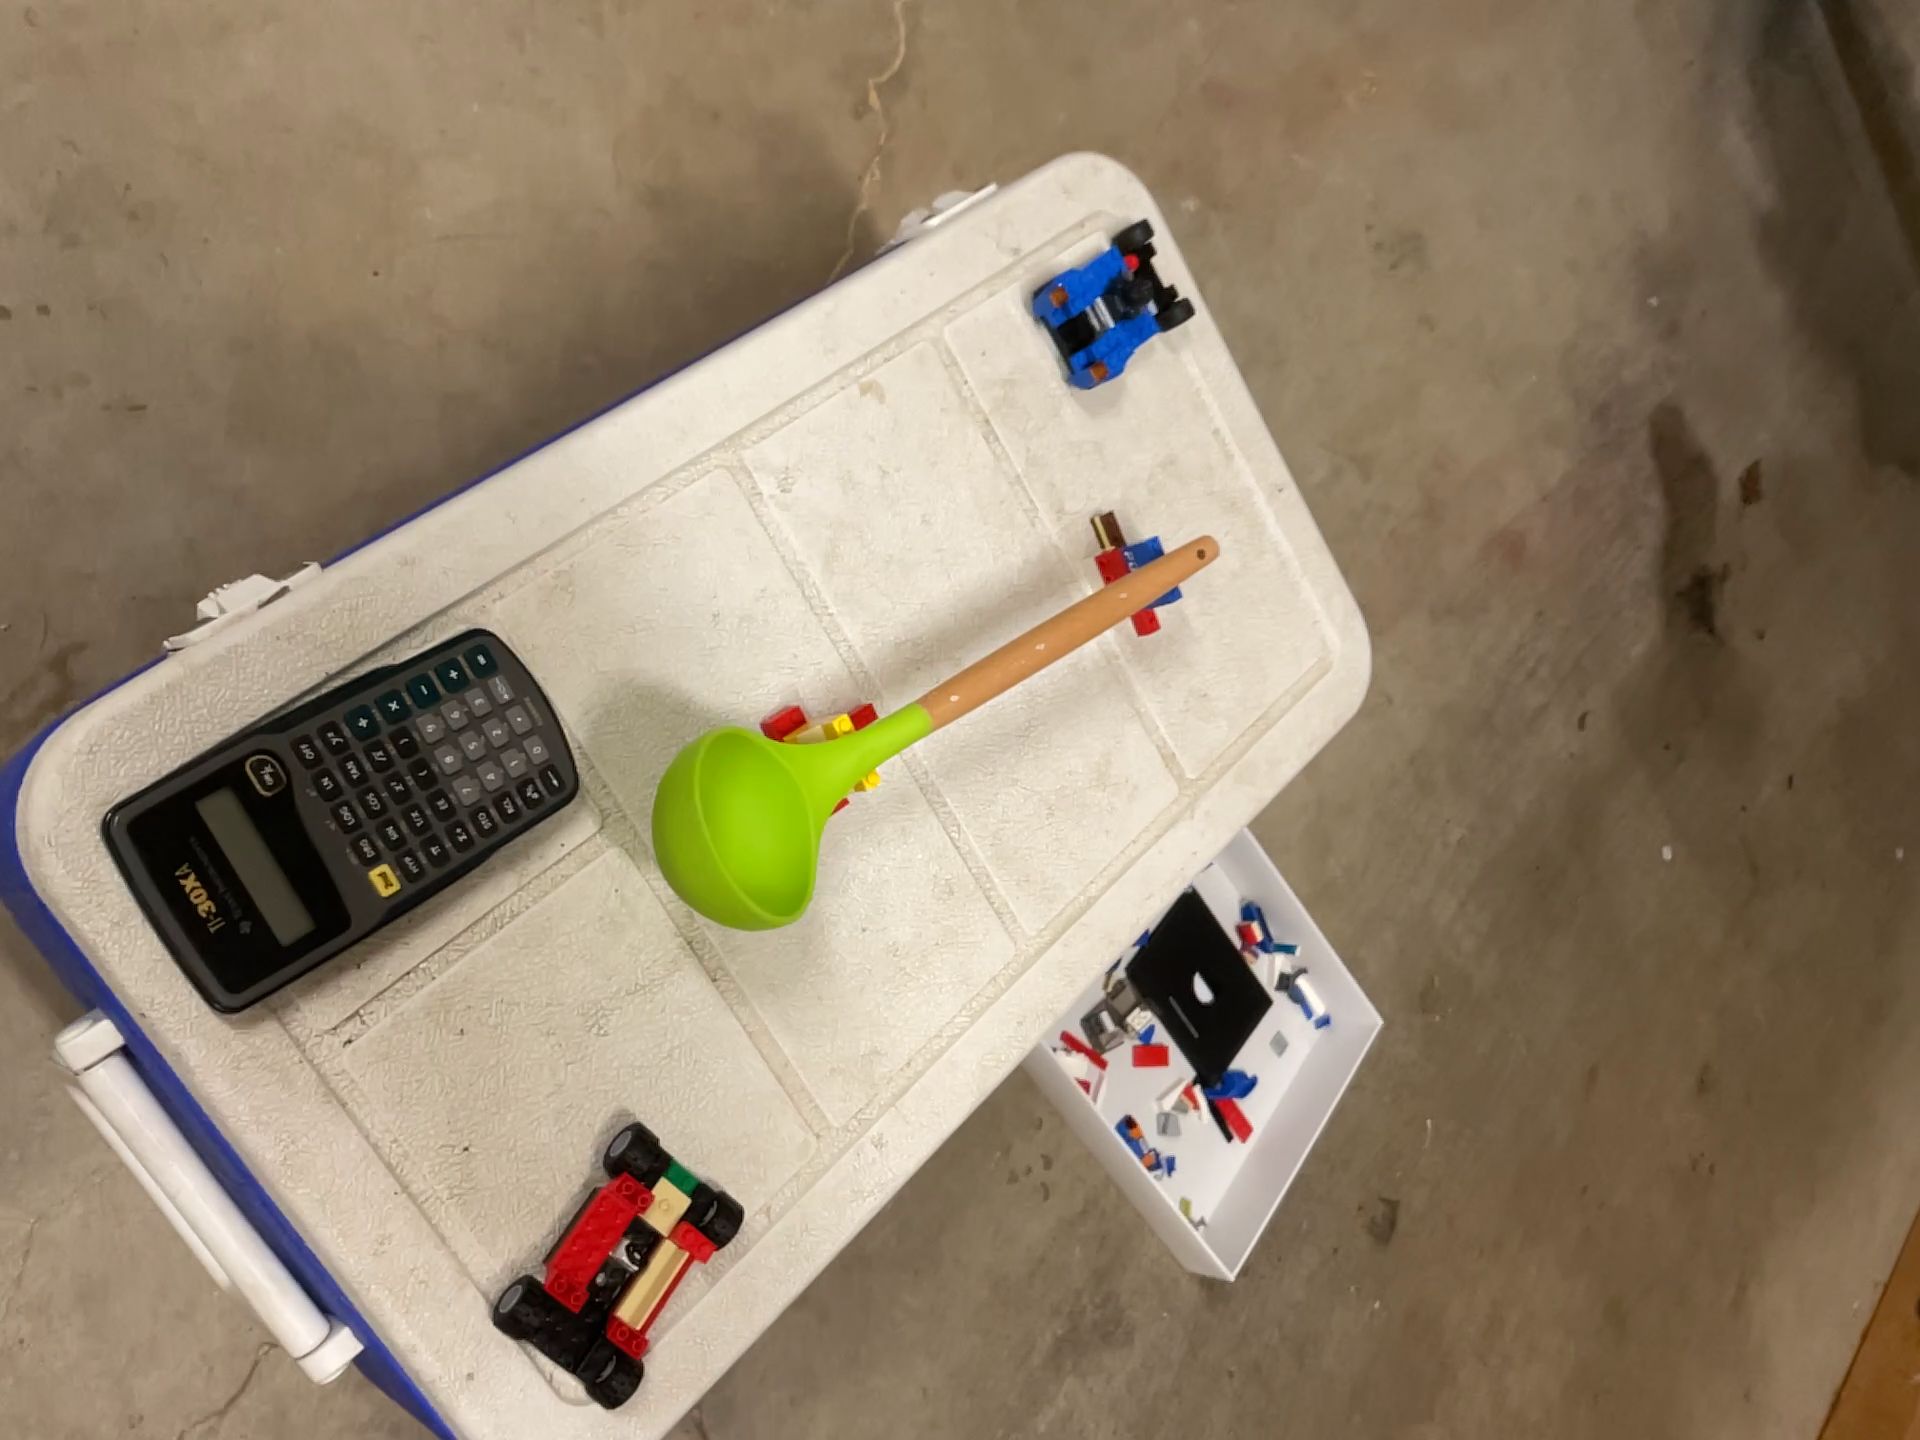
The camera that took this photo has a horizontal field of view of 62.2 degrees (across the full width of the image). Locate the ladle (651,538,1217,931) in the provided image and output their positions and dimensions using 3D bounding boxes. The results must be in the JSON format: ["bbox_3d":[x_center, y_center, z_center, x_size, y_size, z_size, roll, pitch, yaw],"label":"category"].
[{"bbox_3d":[0.008,-0.013,0.661,0.320,0.062,0.078,-31,101,-32],"label":"ladle"}]
